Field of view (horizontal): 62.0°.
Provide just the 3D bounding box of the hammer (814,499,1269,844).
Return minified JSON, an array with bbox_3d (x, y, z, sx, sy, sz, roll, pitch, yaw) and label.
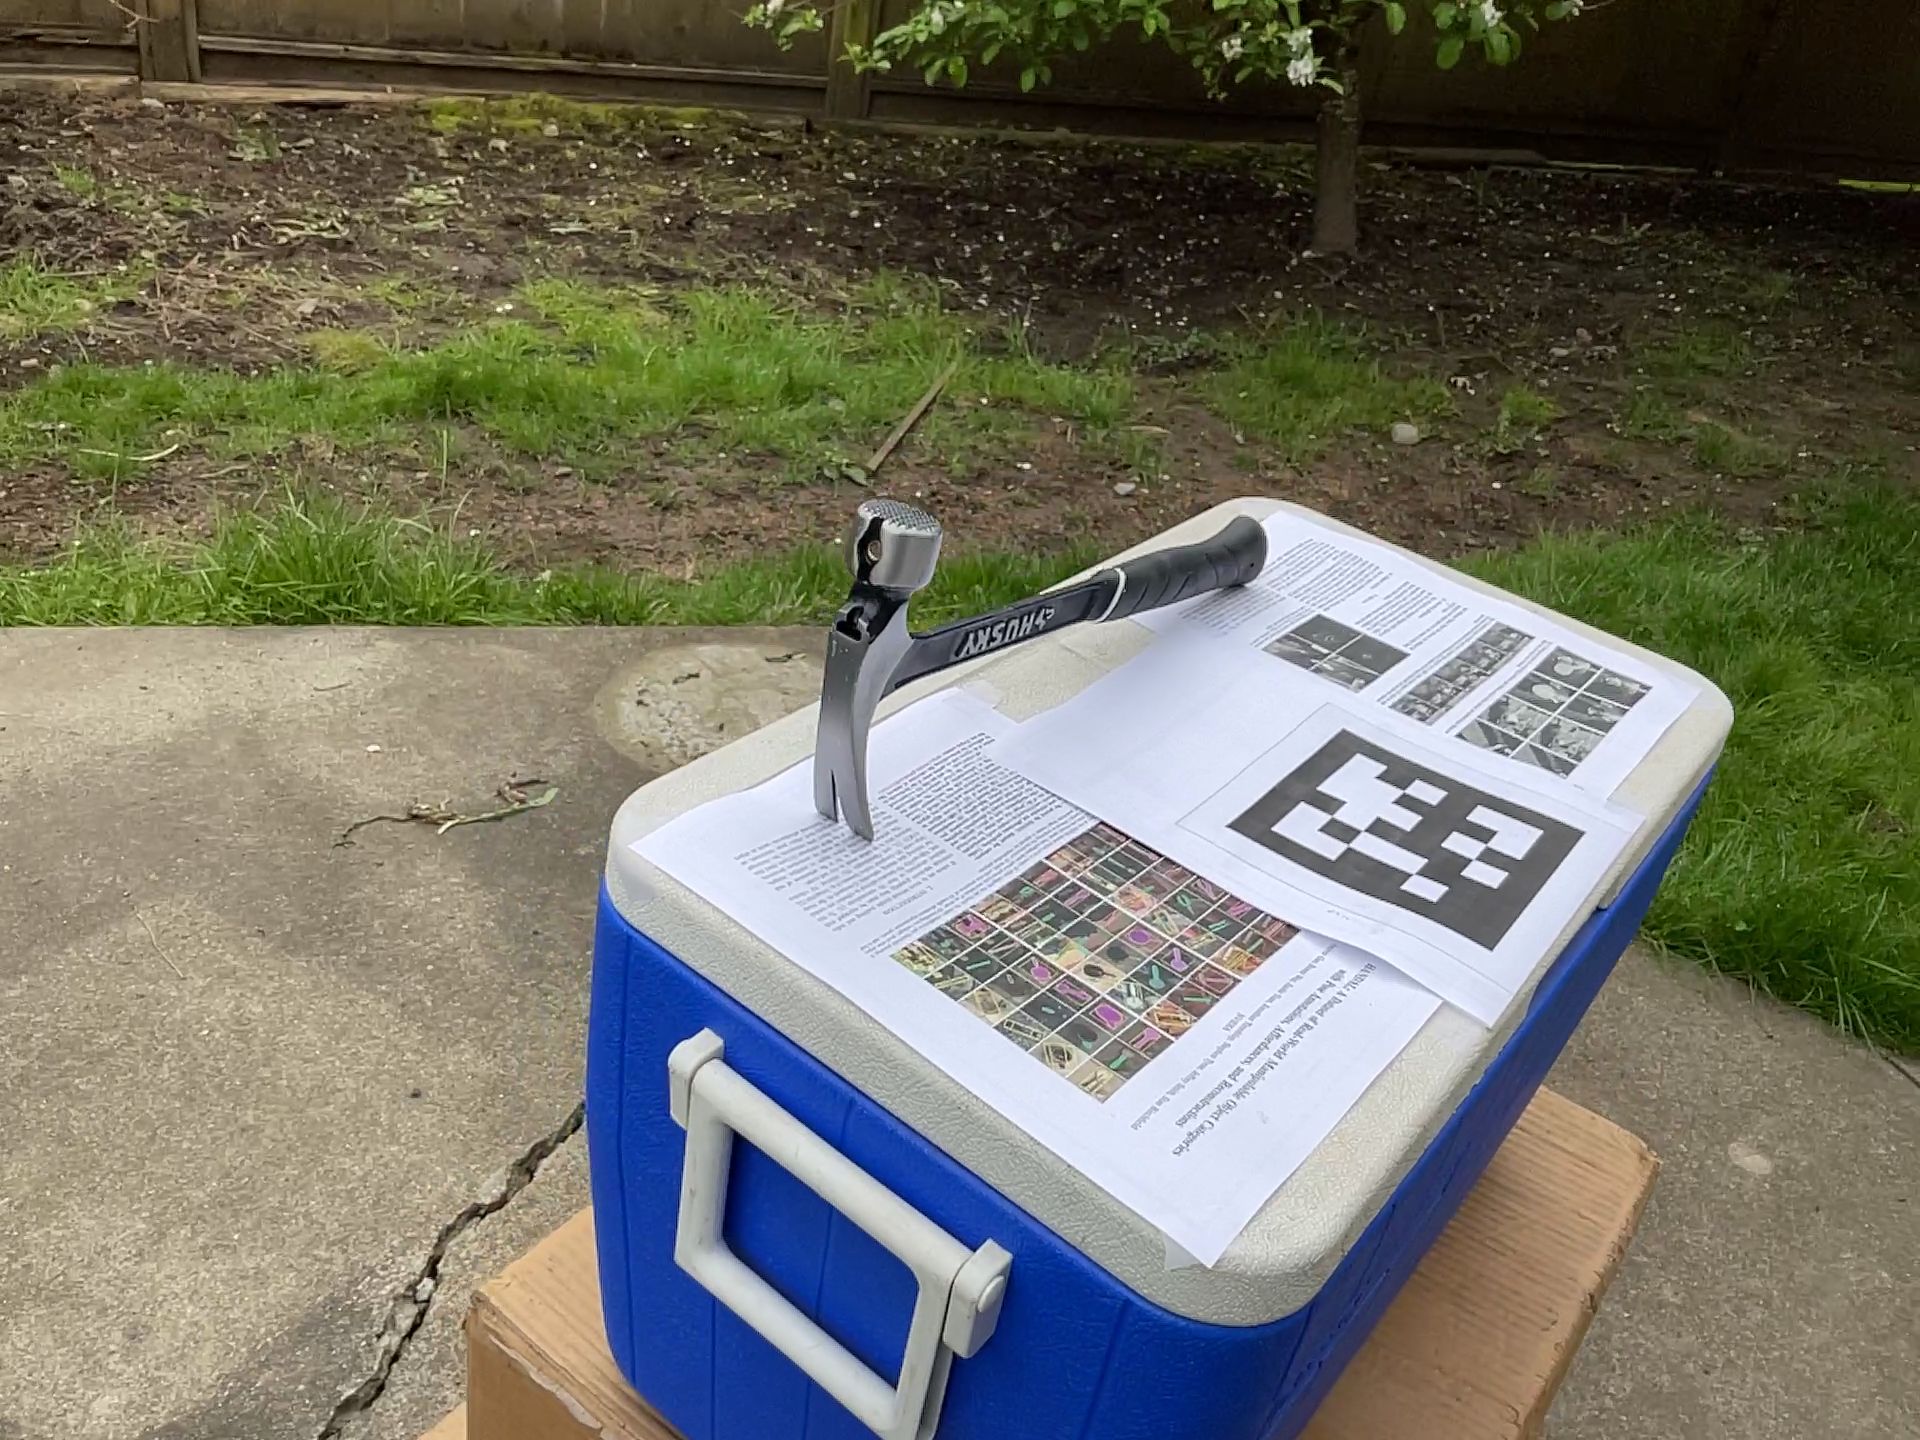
[{"bbox_3d":[0.062,-0.054,0.801,0.036,0.149,0.409,27,26,26],"label":"hammer"}]
